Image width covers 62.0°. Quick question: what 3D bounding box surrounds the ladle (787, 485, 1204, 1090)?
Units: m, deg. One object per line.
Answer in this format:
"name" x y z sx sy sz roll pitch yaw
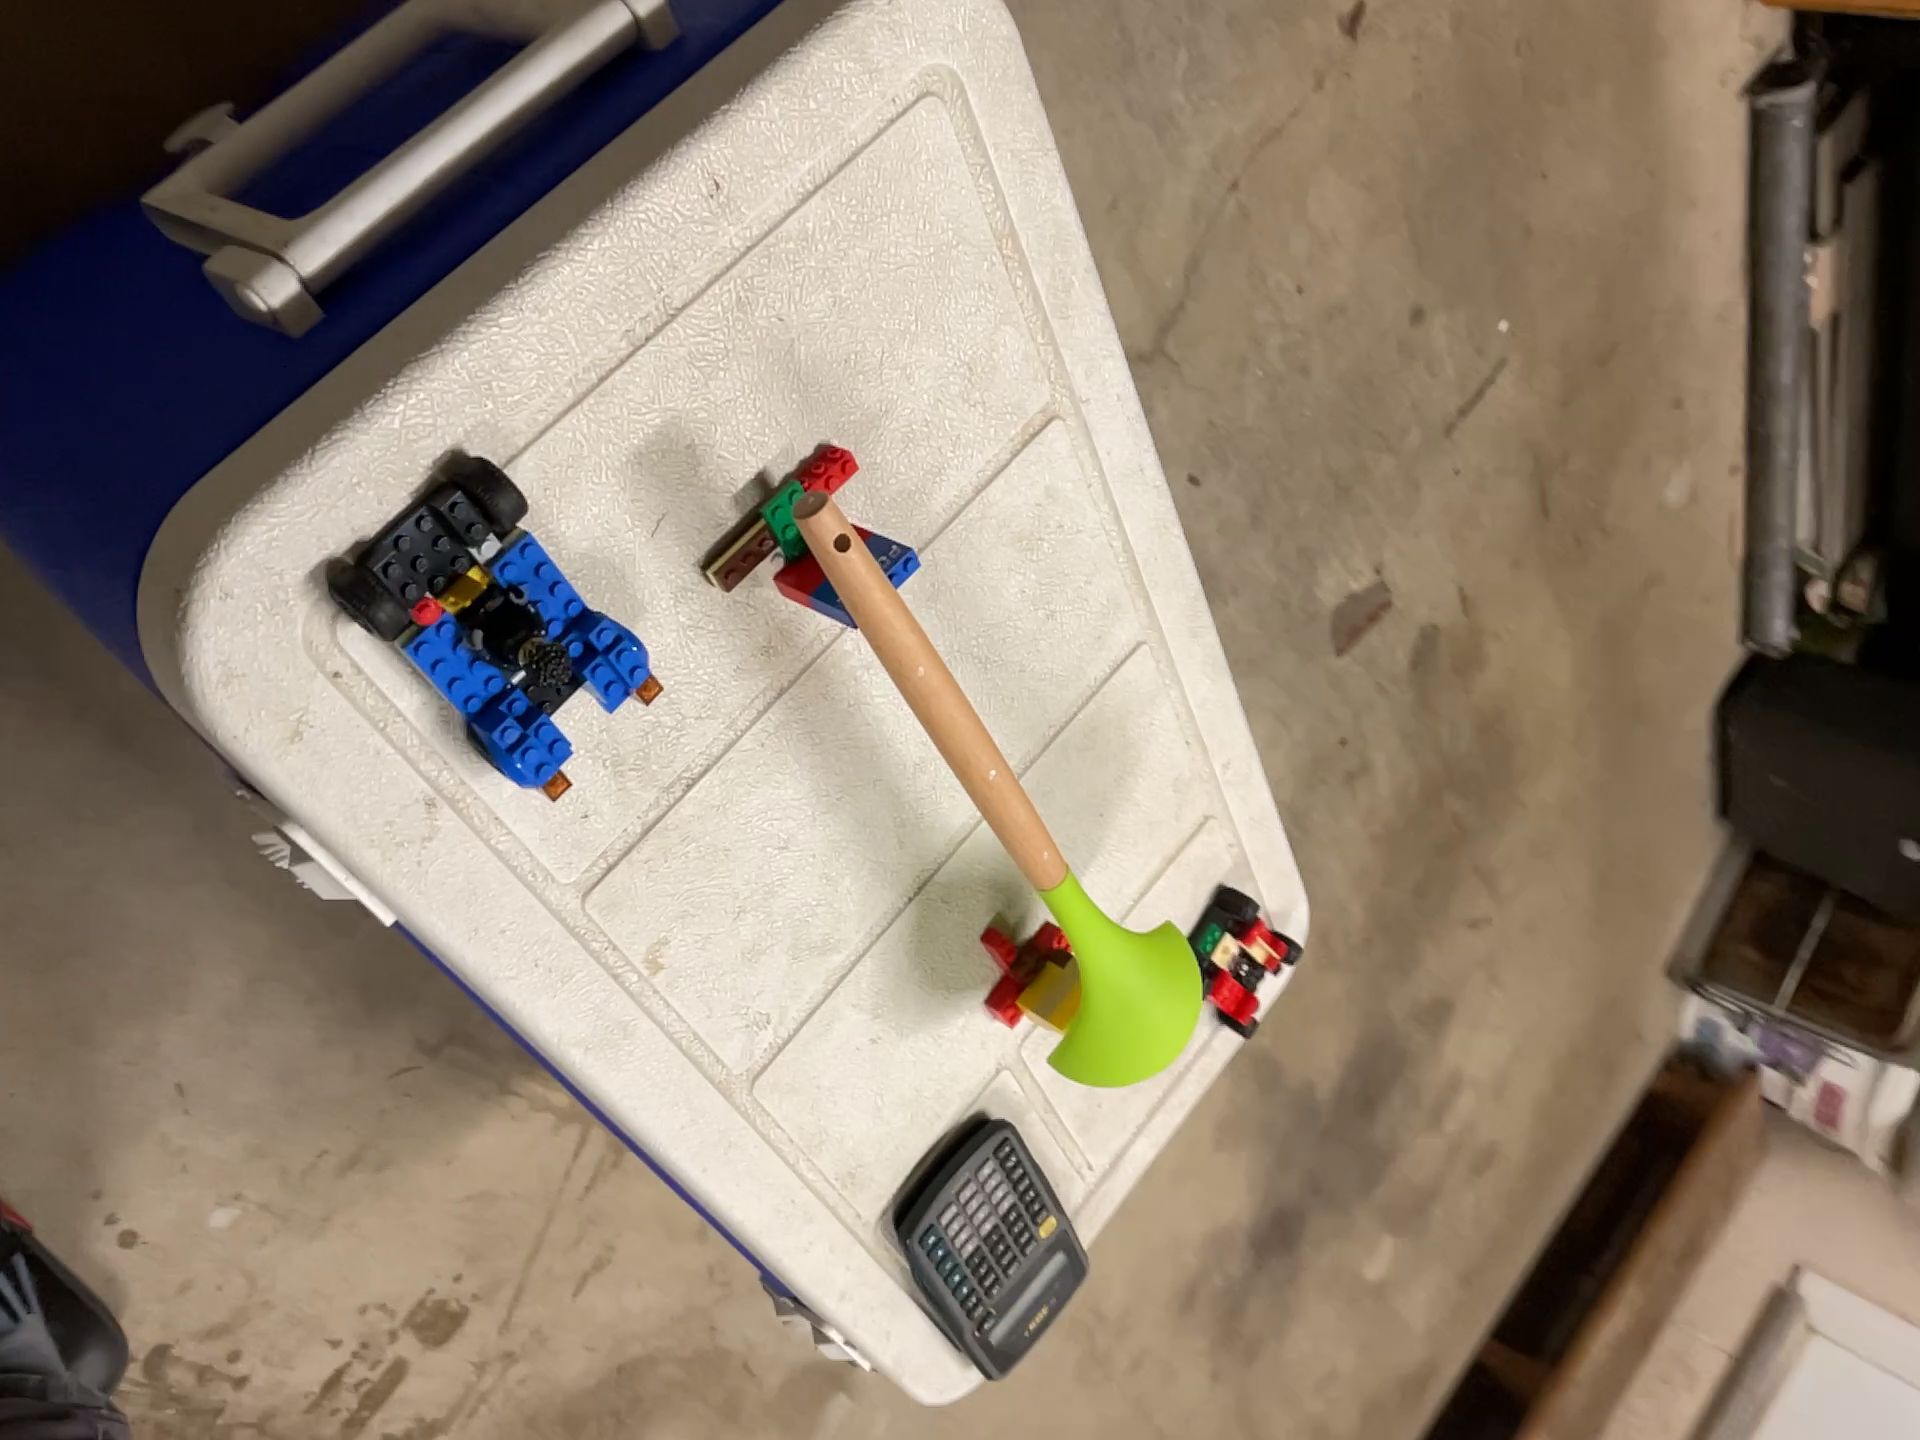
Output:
"ladle" 0.015 0.035 0.577 0.078 0.062 0.320 -44 130 -14
